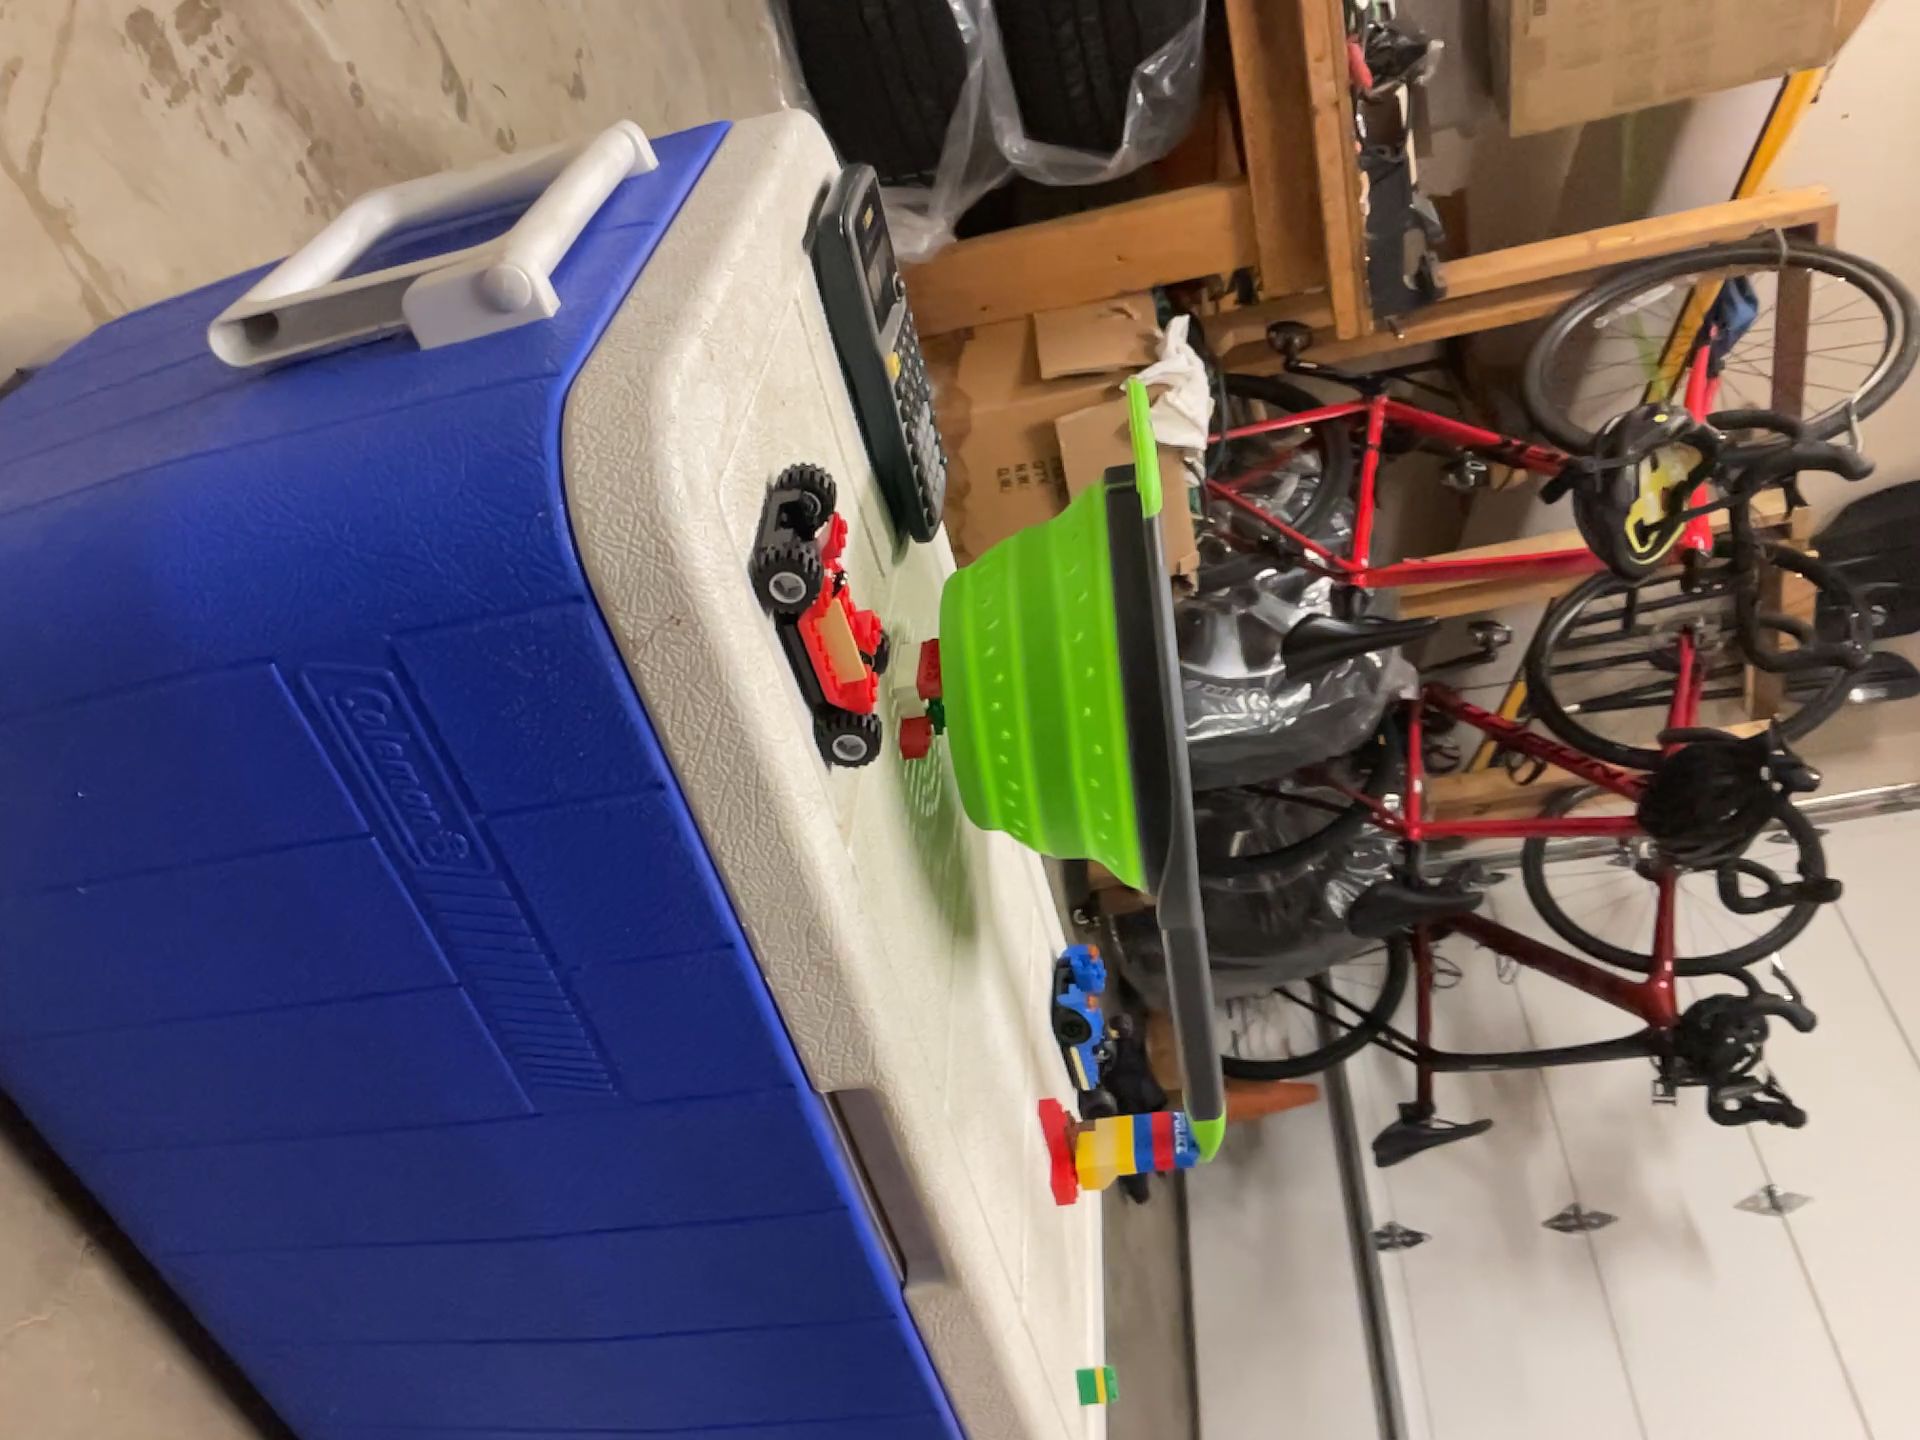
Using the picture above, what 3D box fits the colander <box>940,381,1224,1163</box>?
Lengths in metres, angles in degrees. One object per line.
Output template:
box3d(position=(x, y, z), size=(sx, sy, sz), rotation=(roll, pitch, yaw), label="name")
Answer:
box3d(position=(0.057, 0.055, 0.706), size=(0.205, 0.094, 0.396), rotation=(-88, 169, -57), label="colander")
